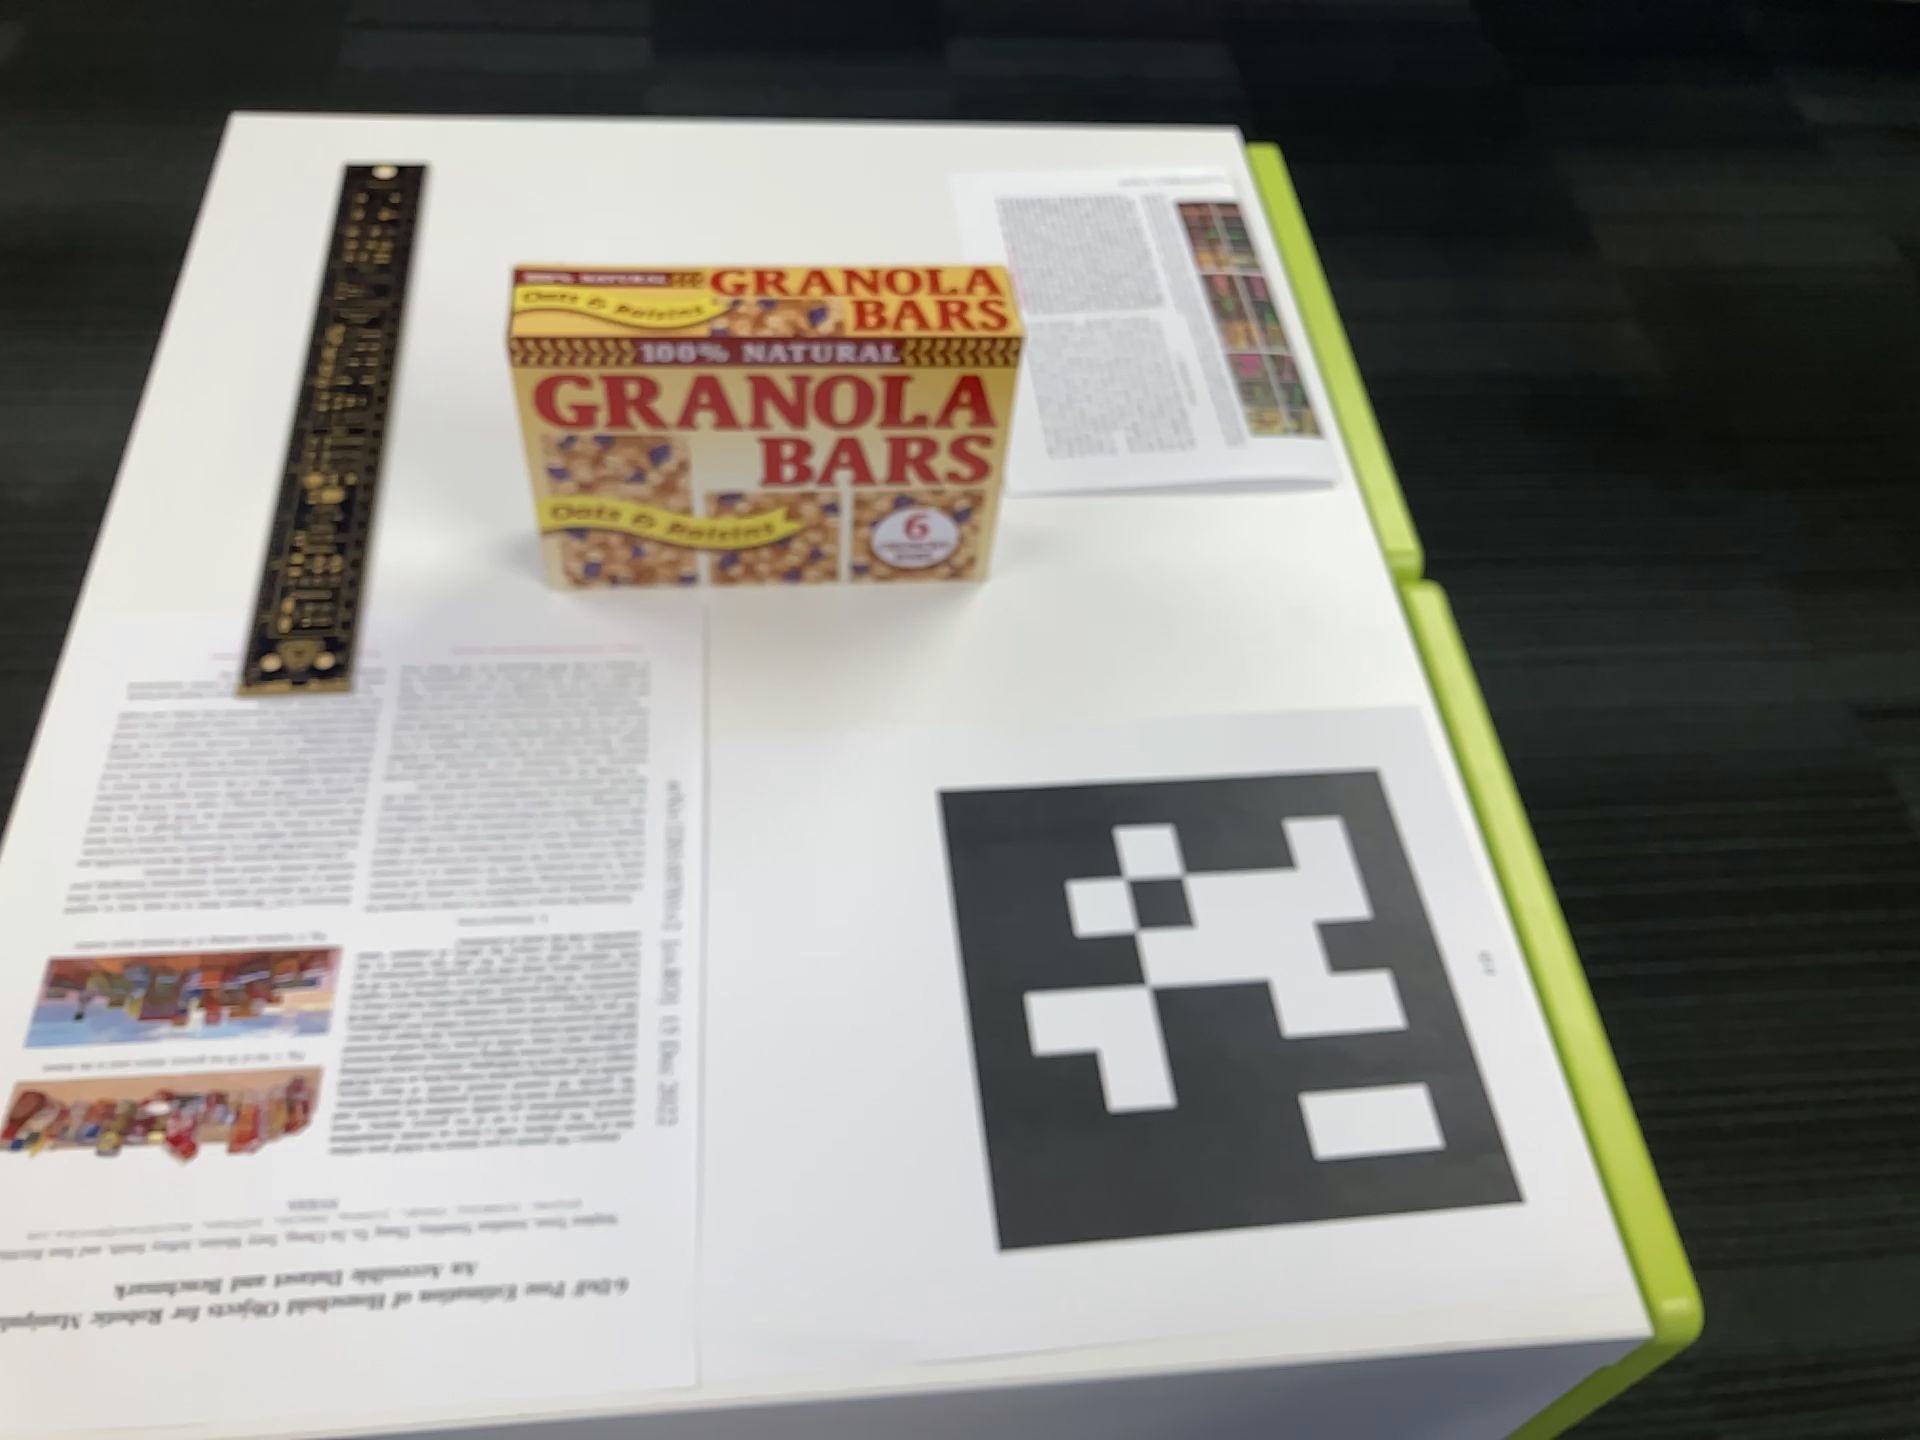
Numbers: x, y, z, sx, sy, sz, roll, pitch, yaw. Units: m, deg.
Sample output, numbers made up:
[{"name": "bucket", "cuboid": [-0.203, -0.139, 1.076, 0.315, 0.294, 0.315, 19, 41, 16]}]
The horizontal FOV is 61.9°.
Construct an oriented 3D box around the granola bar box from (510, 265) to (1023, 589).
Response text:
[{"name": "granola bar box", "cuboid": [-0.068, -0.103, 0.576, 0.165, 0.124, 0.039, -2, 54, -7]}]
